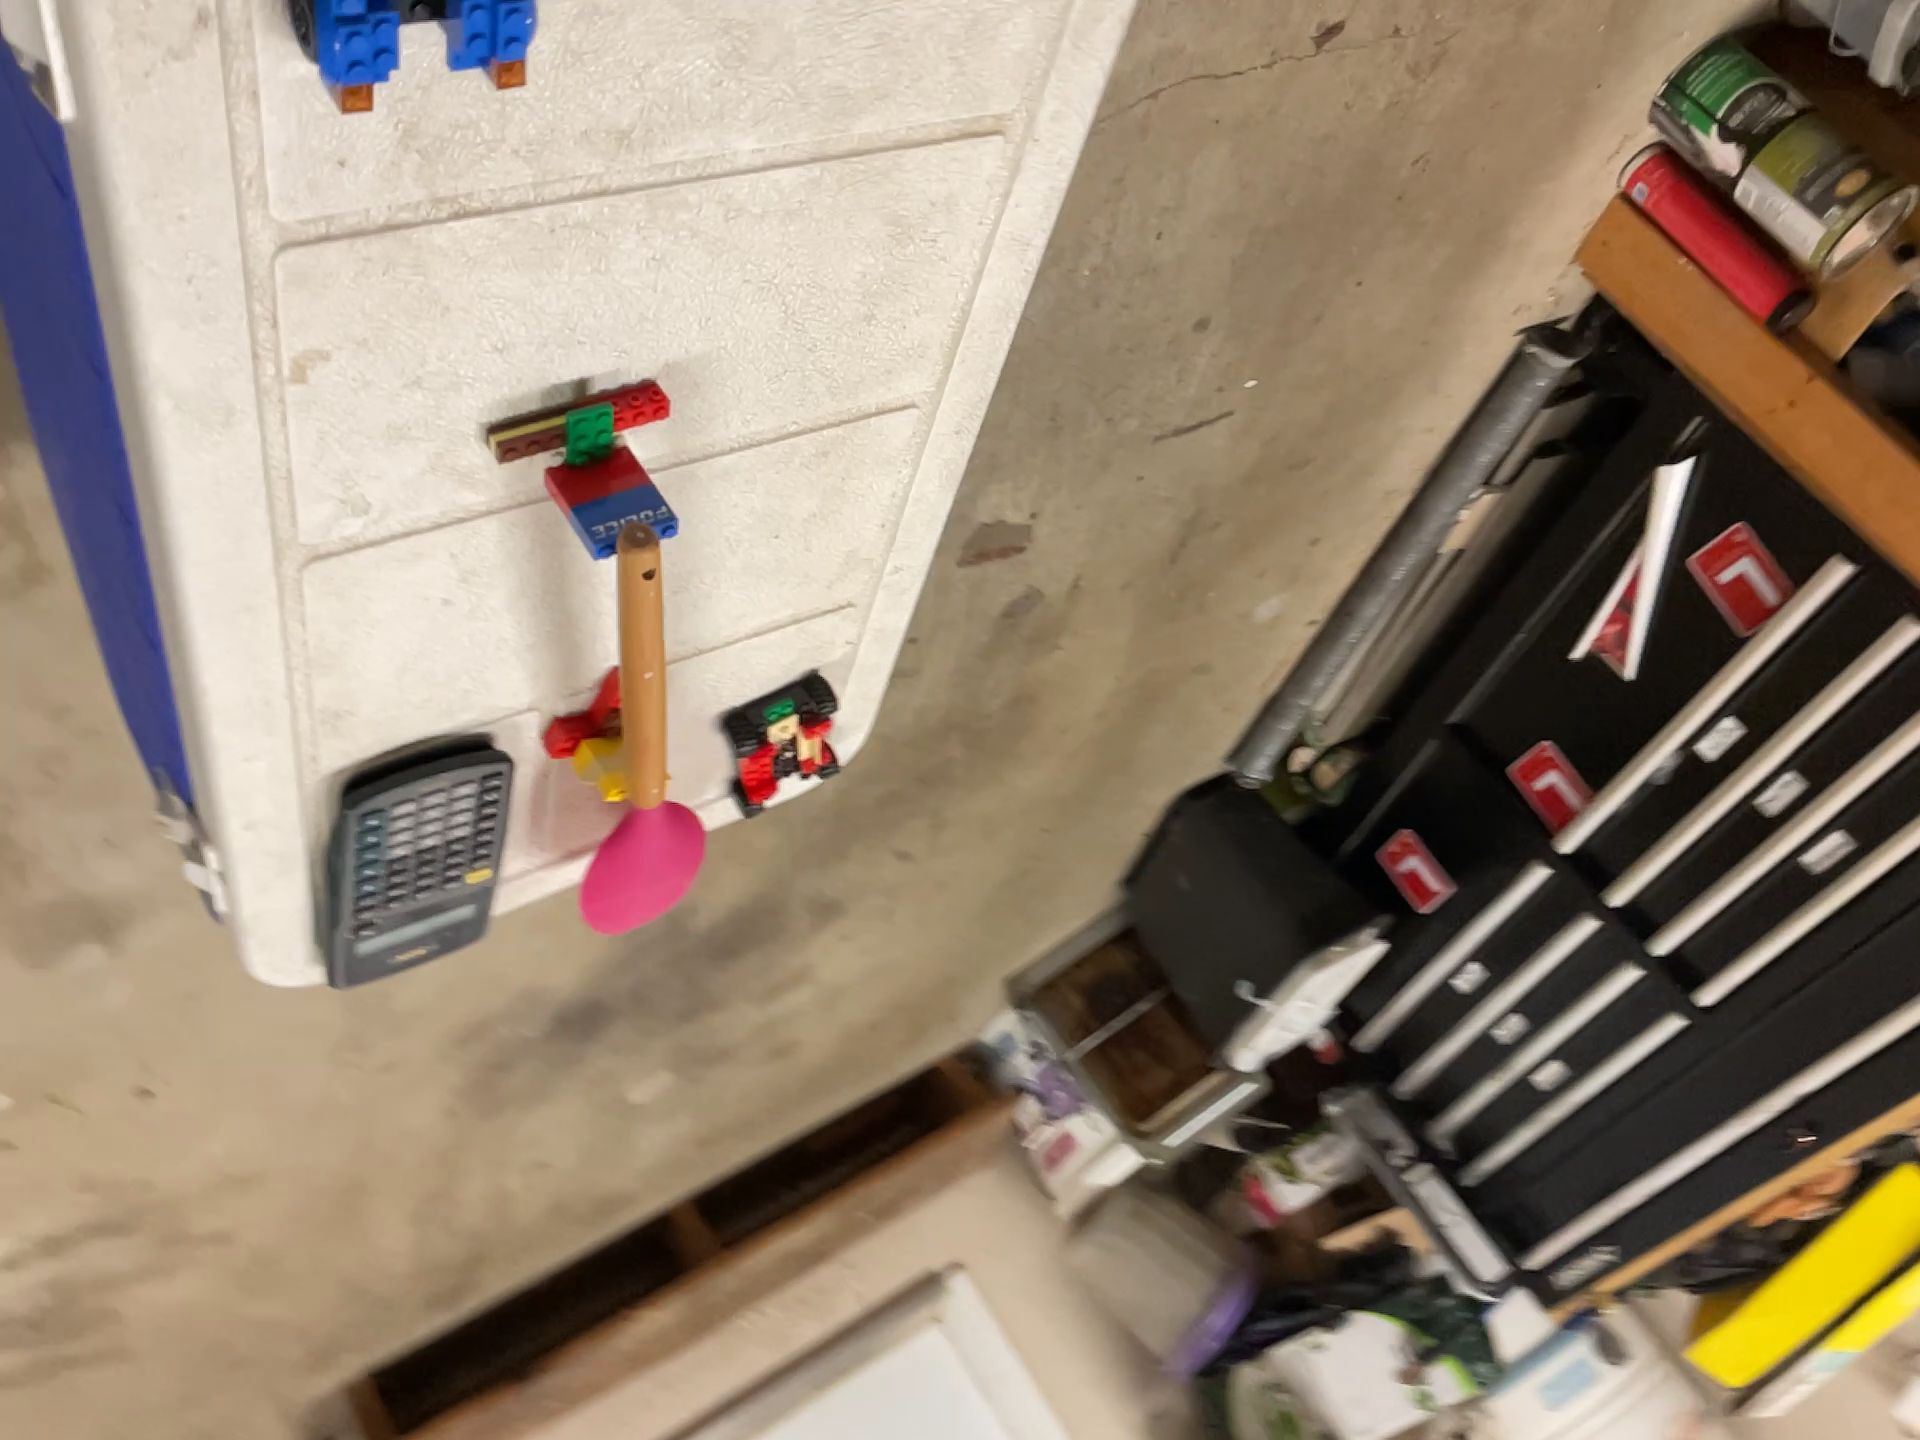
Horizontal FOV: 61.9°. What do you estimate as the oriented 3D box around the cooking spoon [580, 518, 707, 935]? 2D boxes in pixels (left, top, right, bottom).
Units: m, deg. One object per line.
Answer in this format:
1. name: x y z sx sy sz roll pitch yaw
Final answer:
1. cooking spoon: -0.132 0.019 0.667 0.069 0.017 0.318 -30 158 -24
